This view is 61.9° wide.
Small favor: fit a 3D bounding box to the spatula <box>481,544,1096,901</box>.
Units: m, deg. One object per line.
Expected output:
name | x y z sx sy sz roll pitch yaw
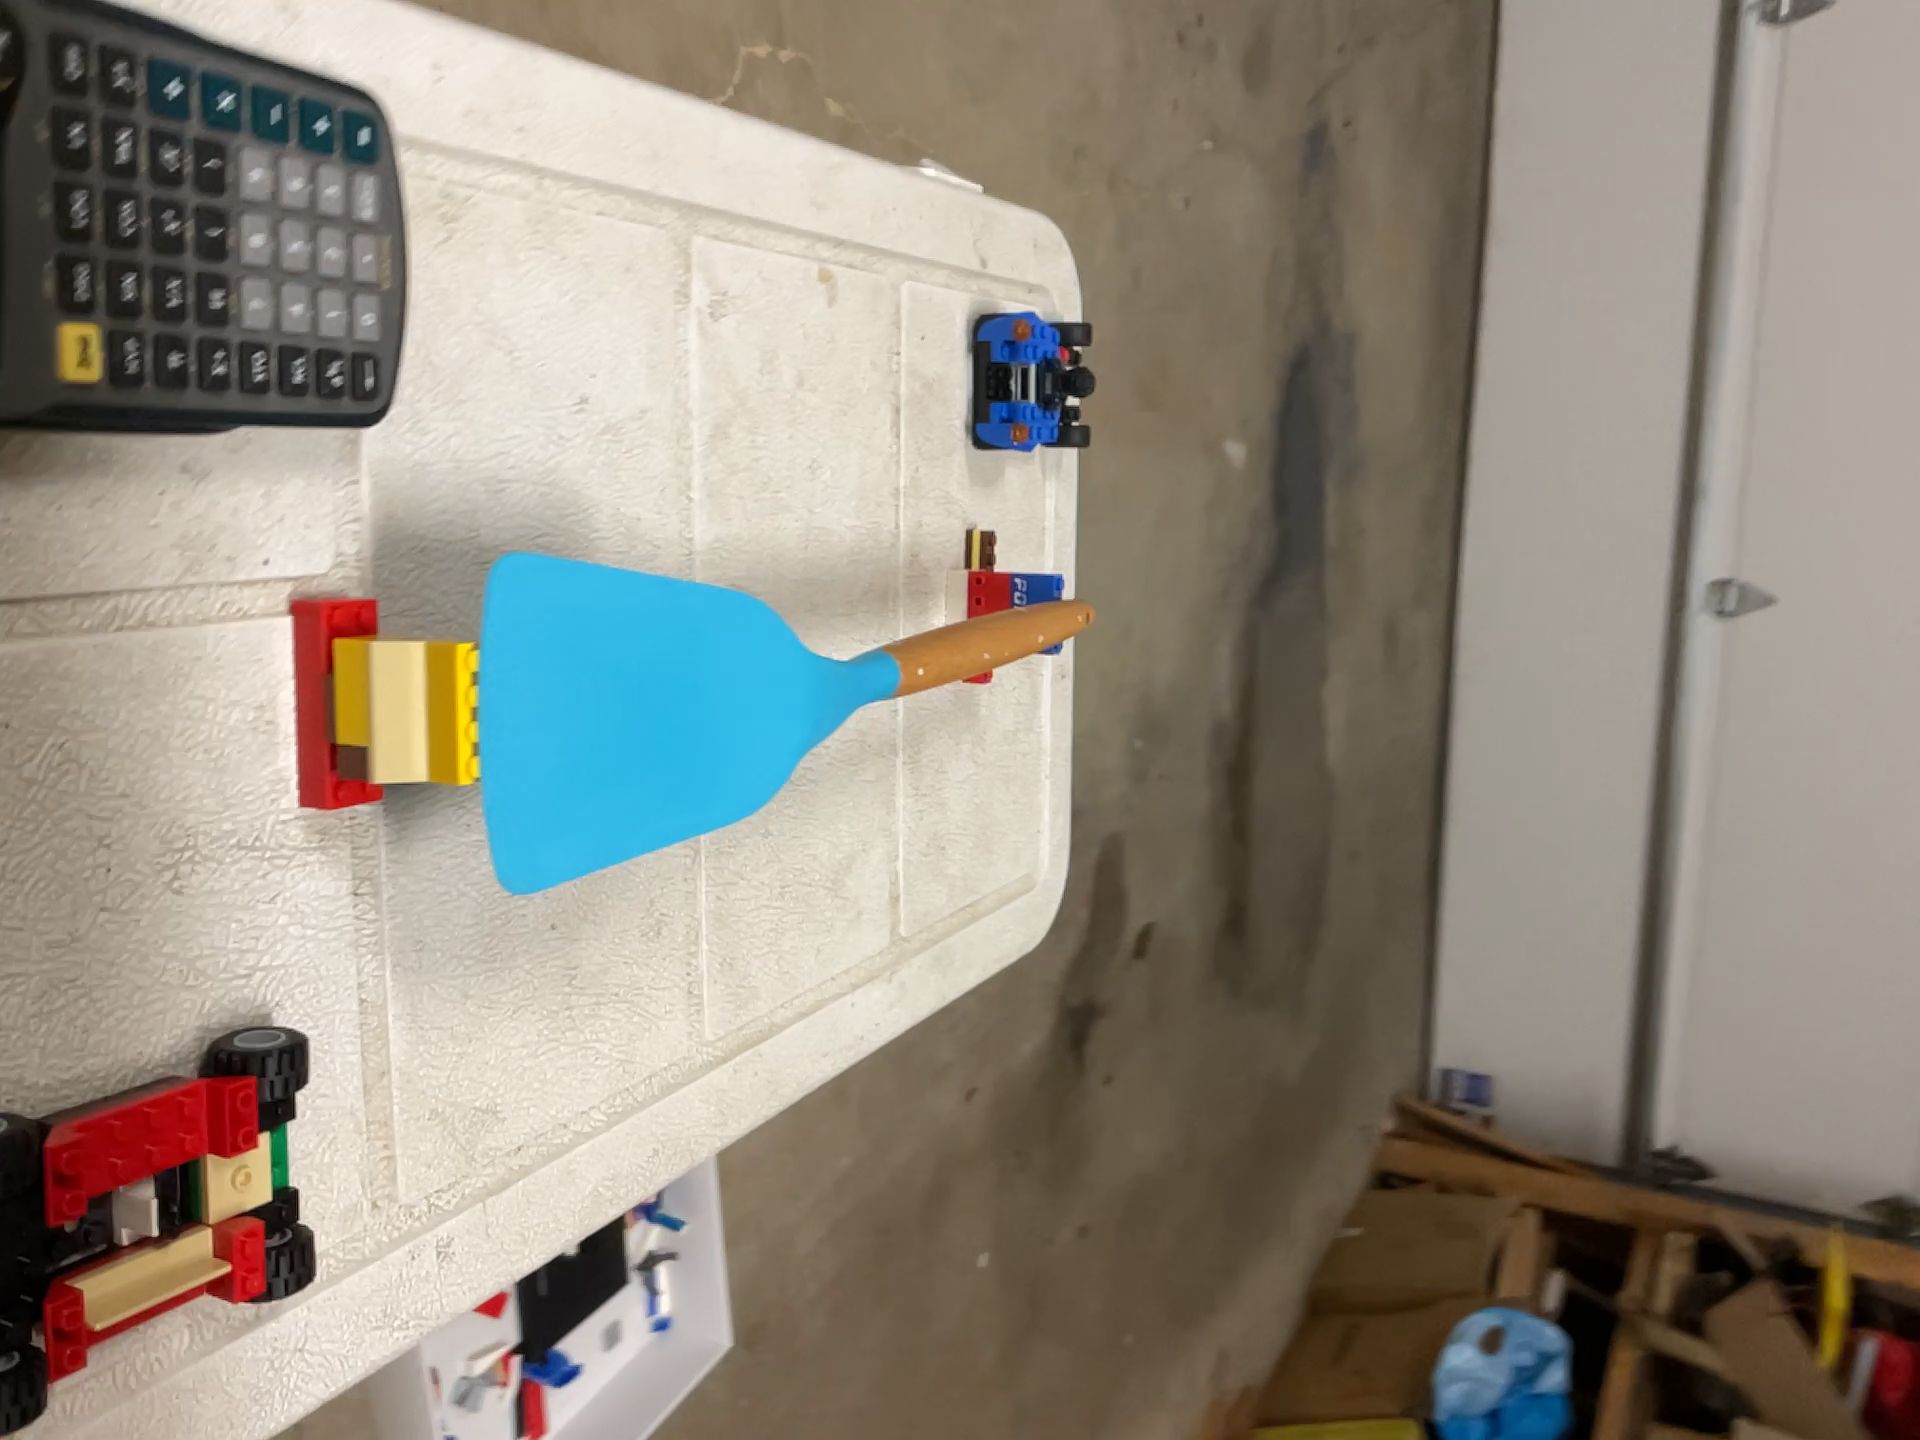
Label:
spatula | -0.024 -0.019 0.494 0.318 0.044 0.082 -20 111 -65
